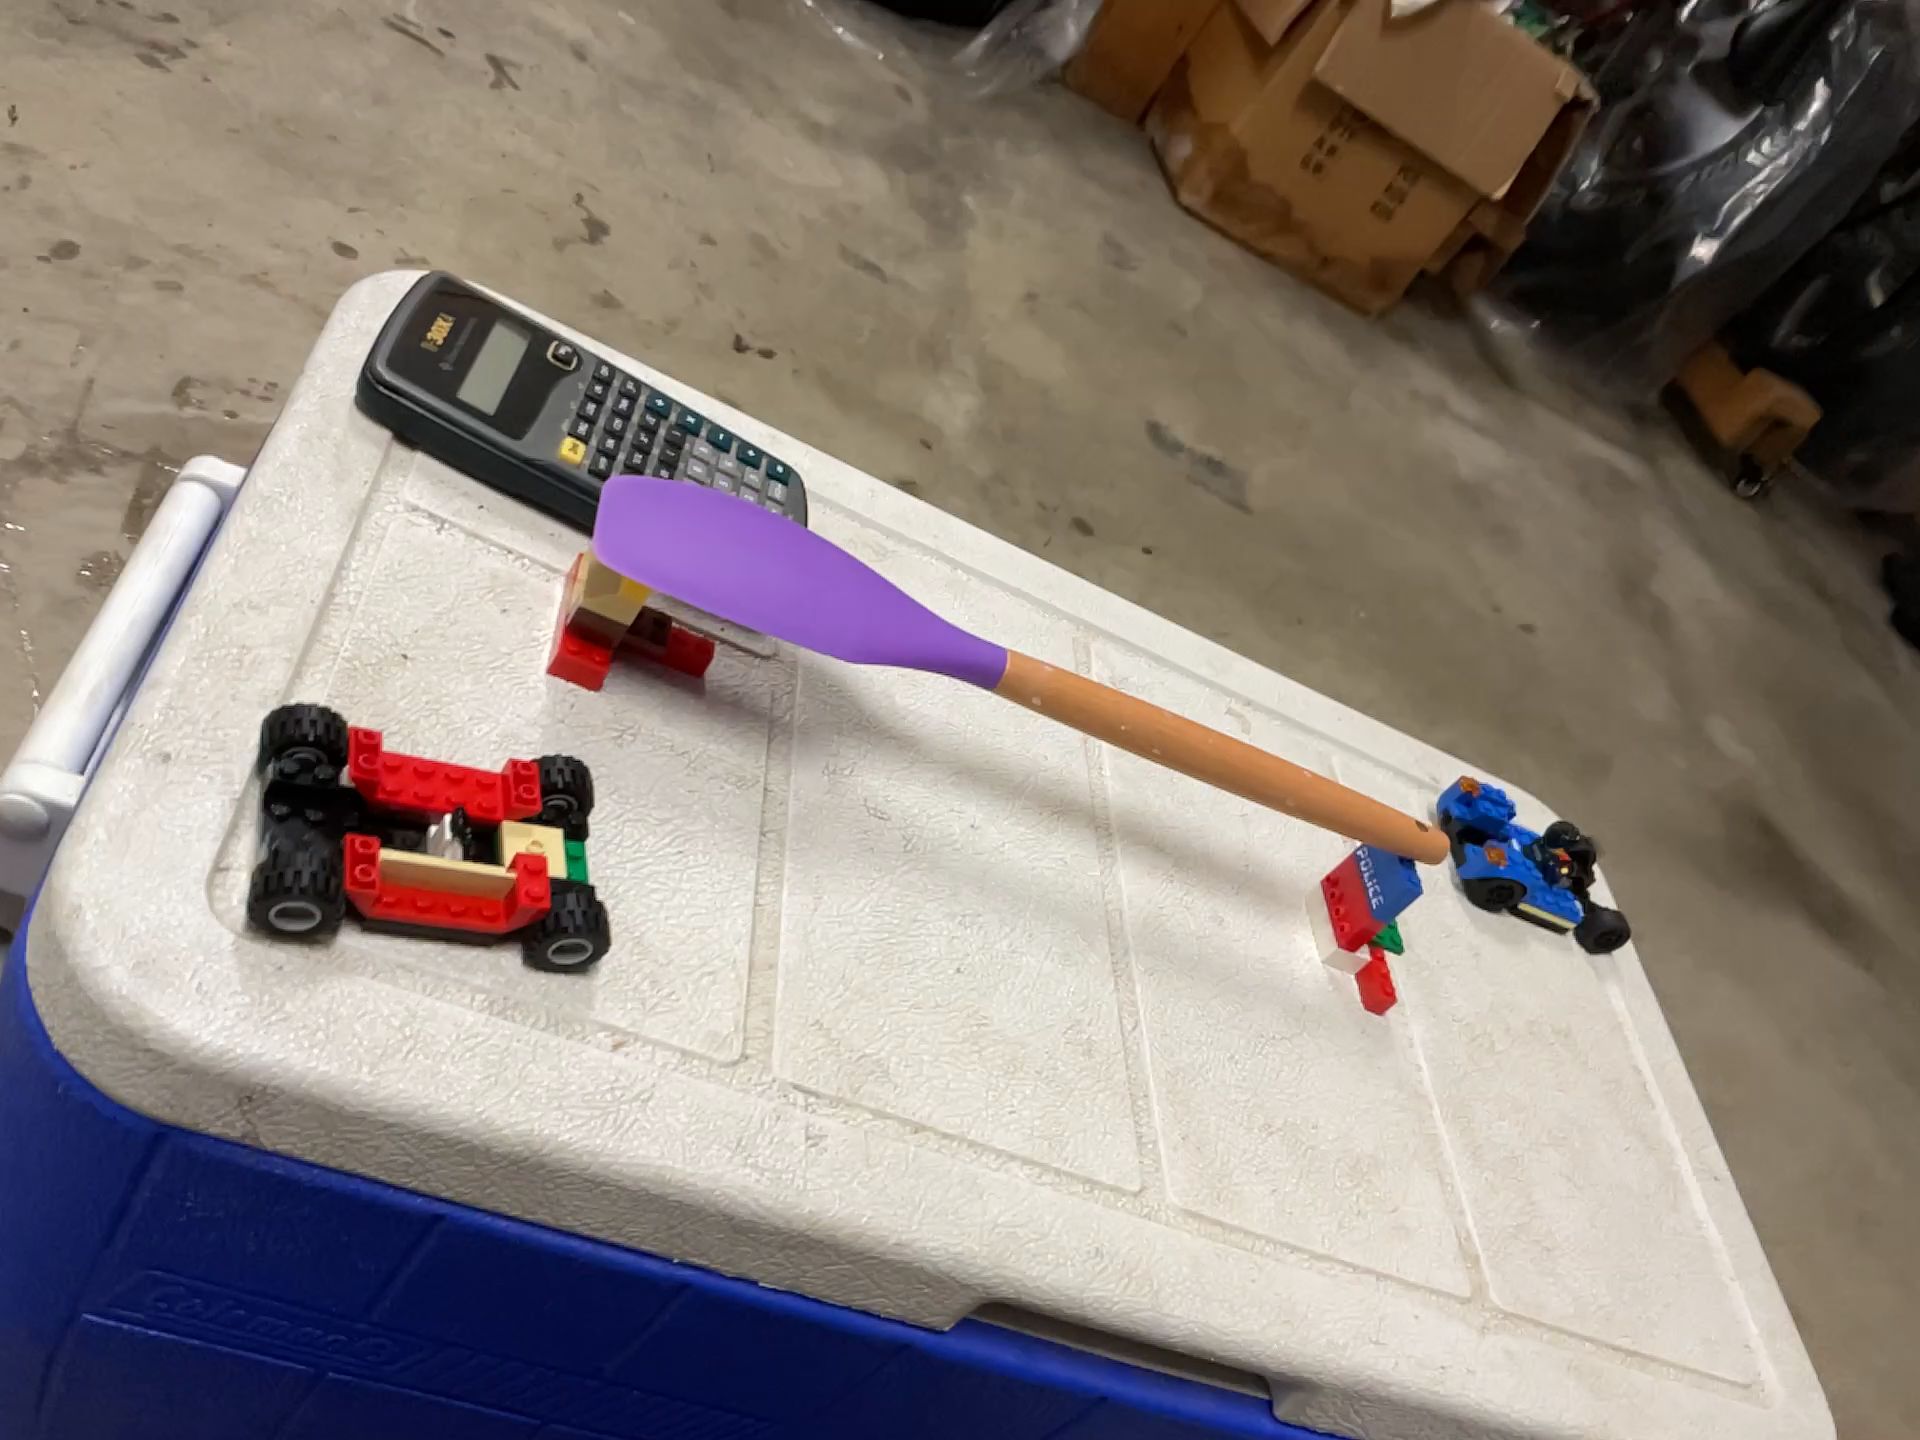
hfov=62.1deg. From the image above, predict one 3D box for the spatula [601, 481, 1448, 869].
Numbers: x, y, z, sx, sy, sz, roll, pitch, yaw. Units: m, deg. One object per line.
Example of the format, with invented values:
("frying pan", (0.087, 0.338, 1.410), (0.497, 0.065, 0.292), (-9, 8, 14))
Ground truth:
("spatula", (0.035, -0.007, 0.518), (0.316, 0.018, 0.060), (22, 39, -21))
